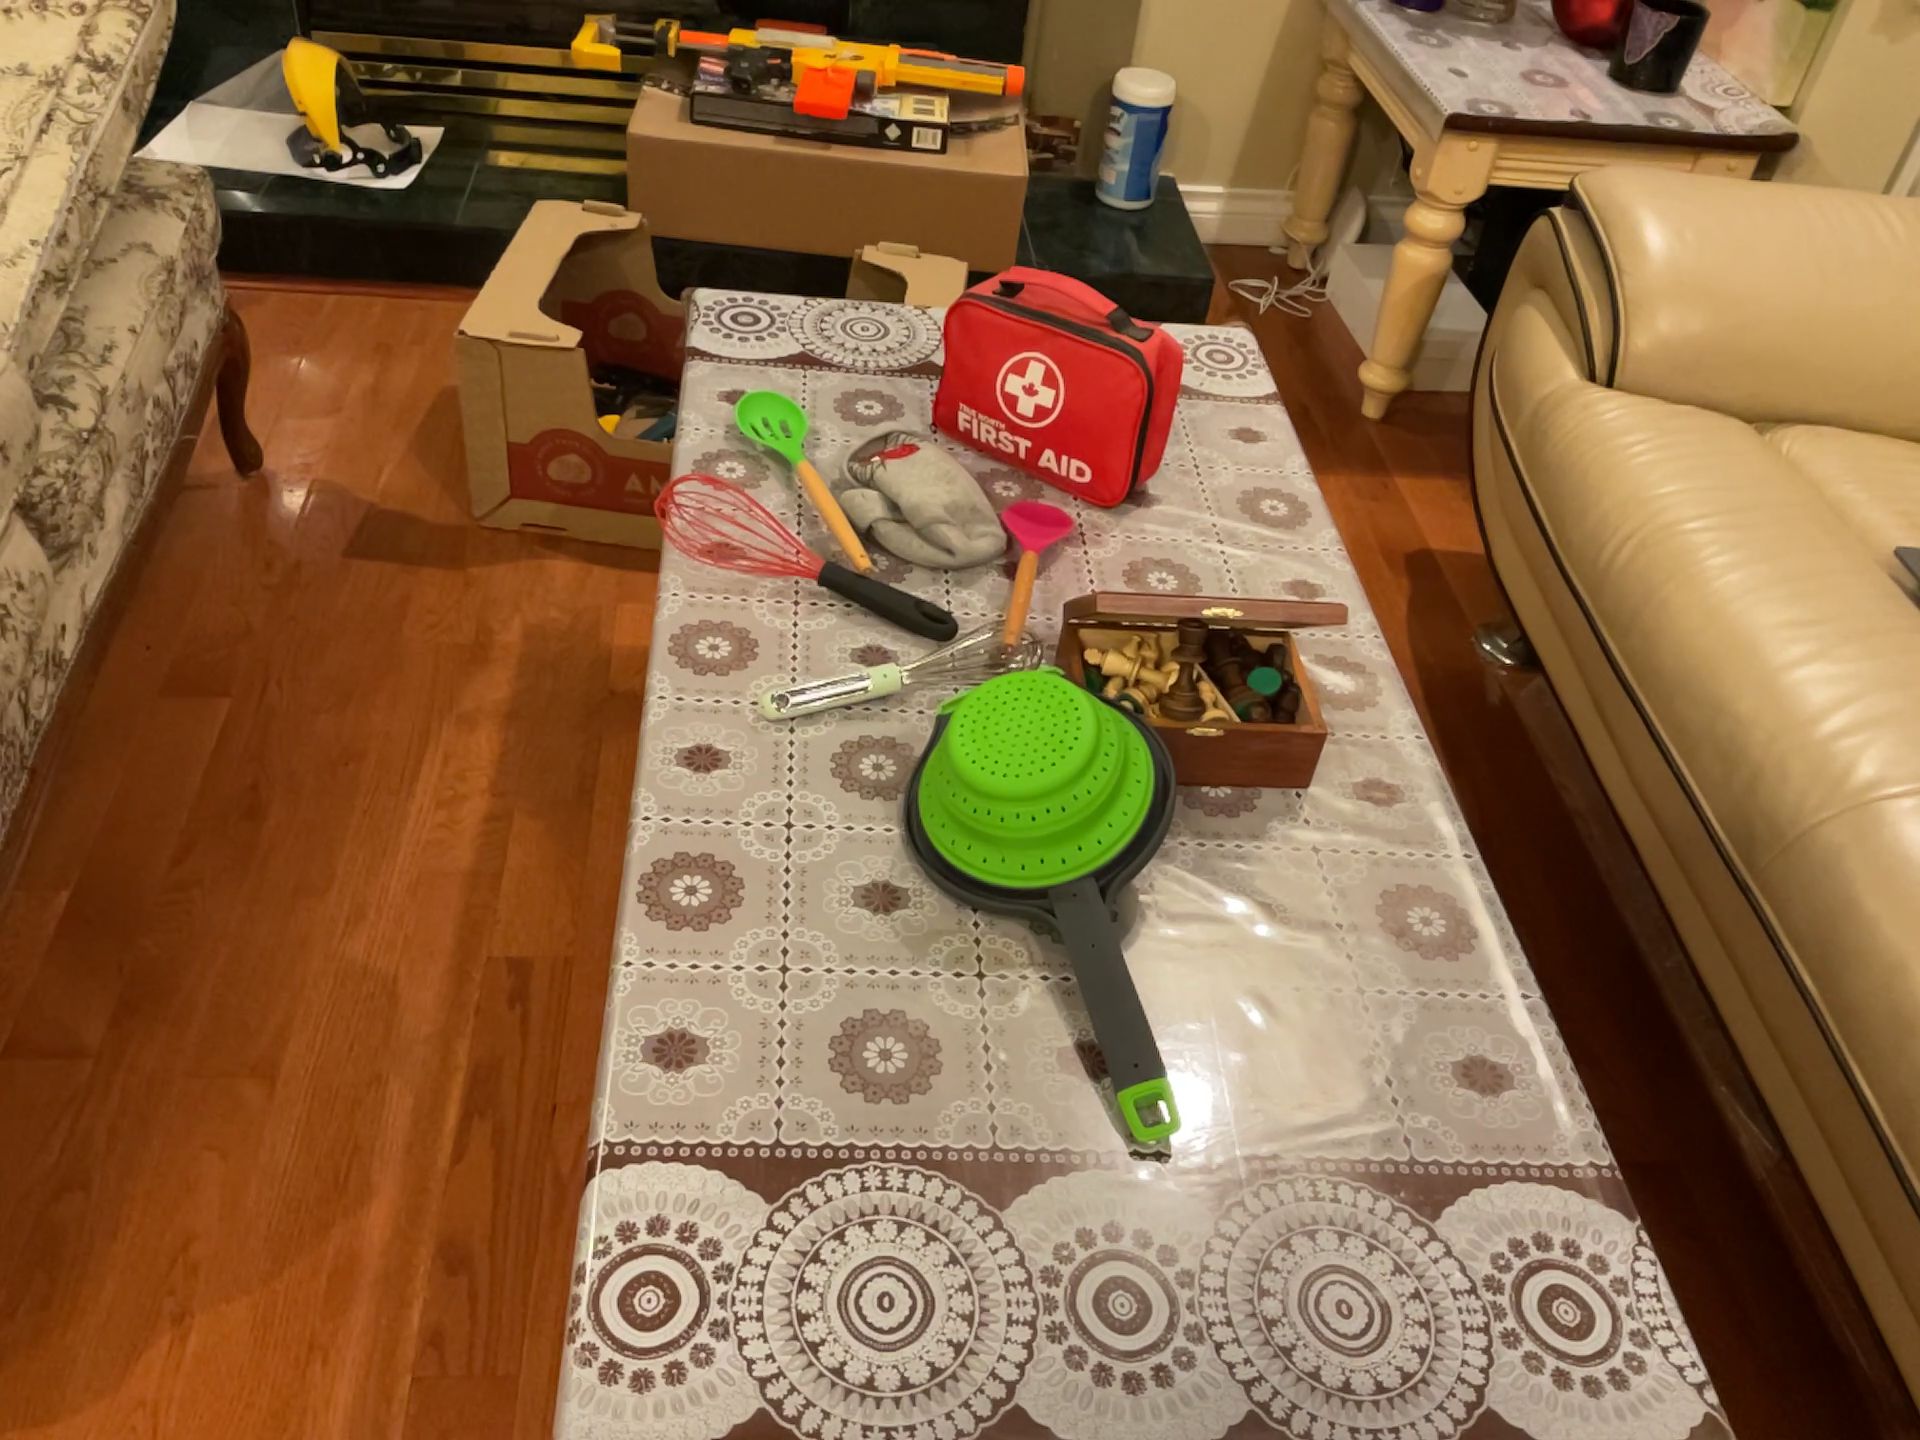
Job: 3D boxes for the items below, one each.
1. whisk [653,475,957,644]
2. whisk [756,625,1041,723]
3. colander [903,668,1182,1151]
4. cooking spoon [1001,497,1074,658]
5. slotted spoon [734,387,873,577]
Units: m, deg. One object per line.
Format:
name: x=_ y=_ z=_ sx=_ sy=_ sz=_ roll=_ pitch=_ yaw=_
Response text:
whisk: x=-0.134 y=-0.136 z=1.372 sx=0.296 sy=0.073 sz=0.073 roll=26 pitch=37 yaw=10
whisk: x=-0.046 y=-0.031 z=1.282 sx=0.246 sy=0.059 sz=0.058 roll=-12 pitch=4 yaw=-20
colander: x=0.070 y=0.095 z=1.082 sx=0.204 sy=0.094 sz=0.398 roll=-18 pitch=51 yaw=0
cooking spoon: x=0.058 y=-0.132 z=1.386 sx=0.069 sy=0.017 sz=0.319 roll=9 pitch=30 yaw=3
slotted spoon: x=-0.140 y=-0.221 z=1.470 sx=0.070 sy=0.031 sz=0.314 roll=-10 pitch=42 yaw=-21
